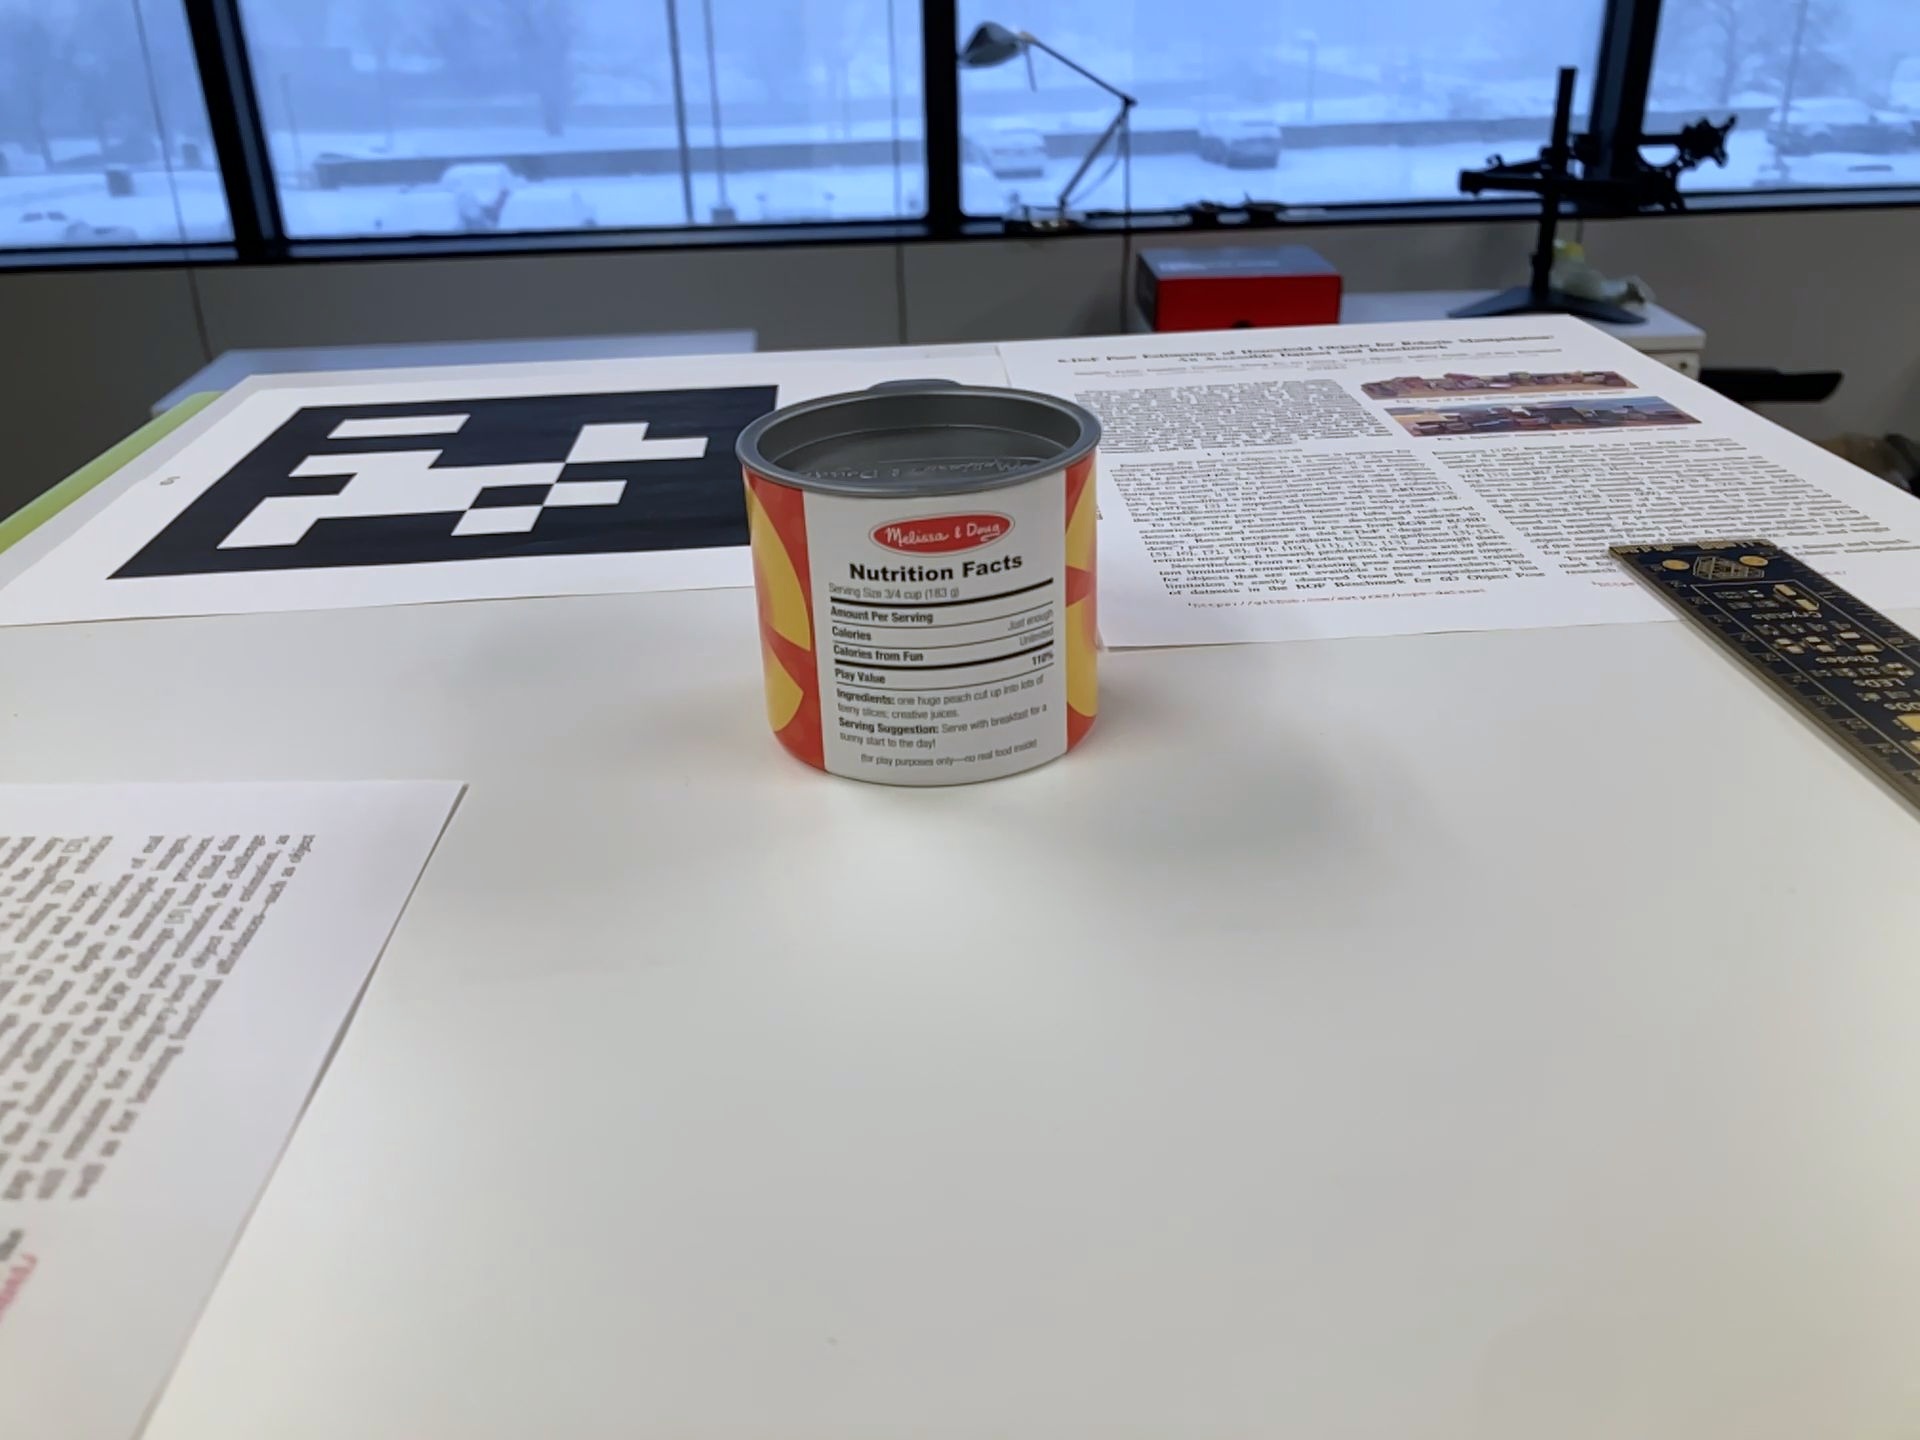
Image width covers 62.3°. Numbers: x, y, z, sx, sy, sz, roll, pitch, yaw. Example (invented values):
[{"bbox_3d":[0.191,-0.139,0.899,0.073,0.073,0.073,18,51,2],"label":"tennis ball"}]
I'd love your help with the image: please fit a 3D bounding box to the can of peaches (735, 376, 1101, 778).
[{"bbox_3d":[-0.007,-0.029,0.302,0.071,0.058,0.071,-2,25,1],"label":"can of peaches"}]
